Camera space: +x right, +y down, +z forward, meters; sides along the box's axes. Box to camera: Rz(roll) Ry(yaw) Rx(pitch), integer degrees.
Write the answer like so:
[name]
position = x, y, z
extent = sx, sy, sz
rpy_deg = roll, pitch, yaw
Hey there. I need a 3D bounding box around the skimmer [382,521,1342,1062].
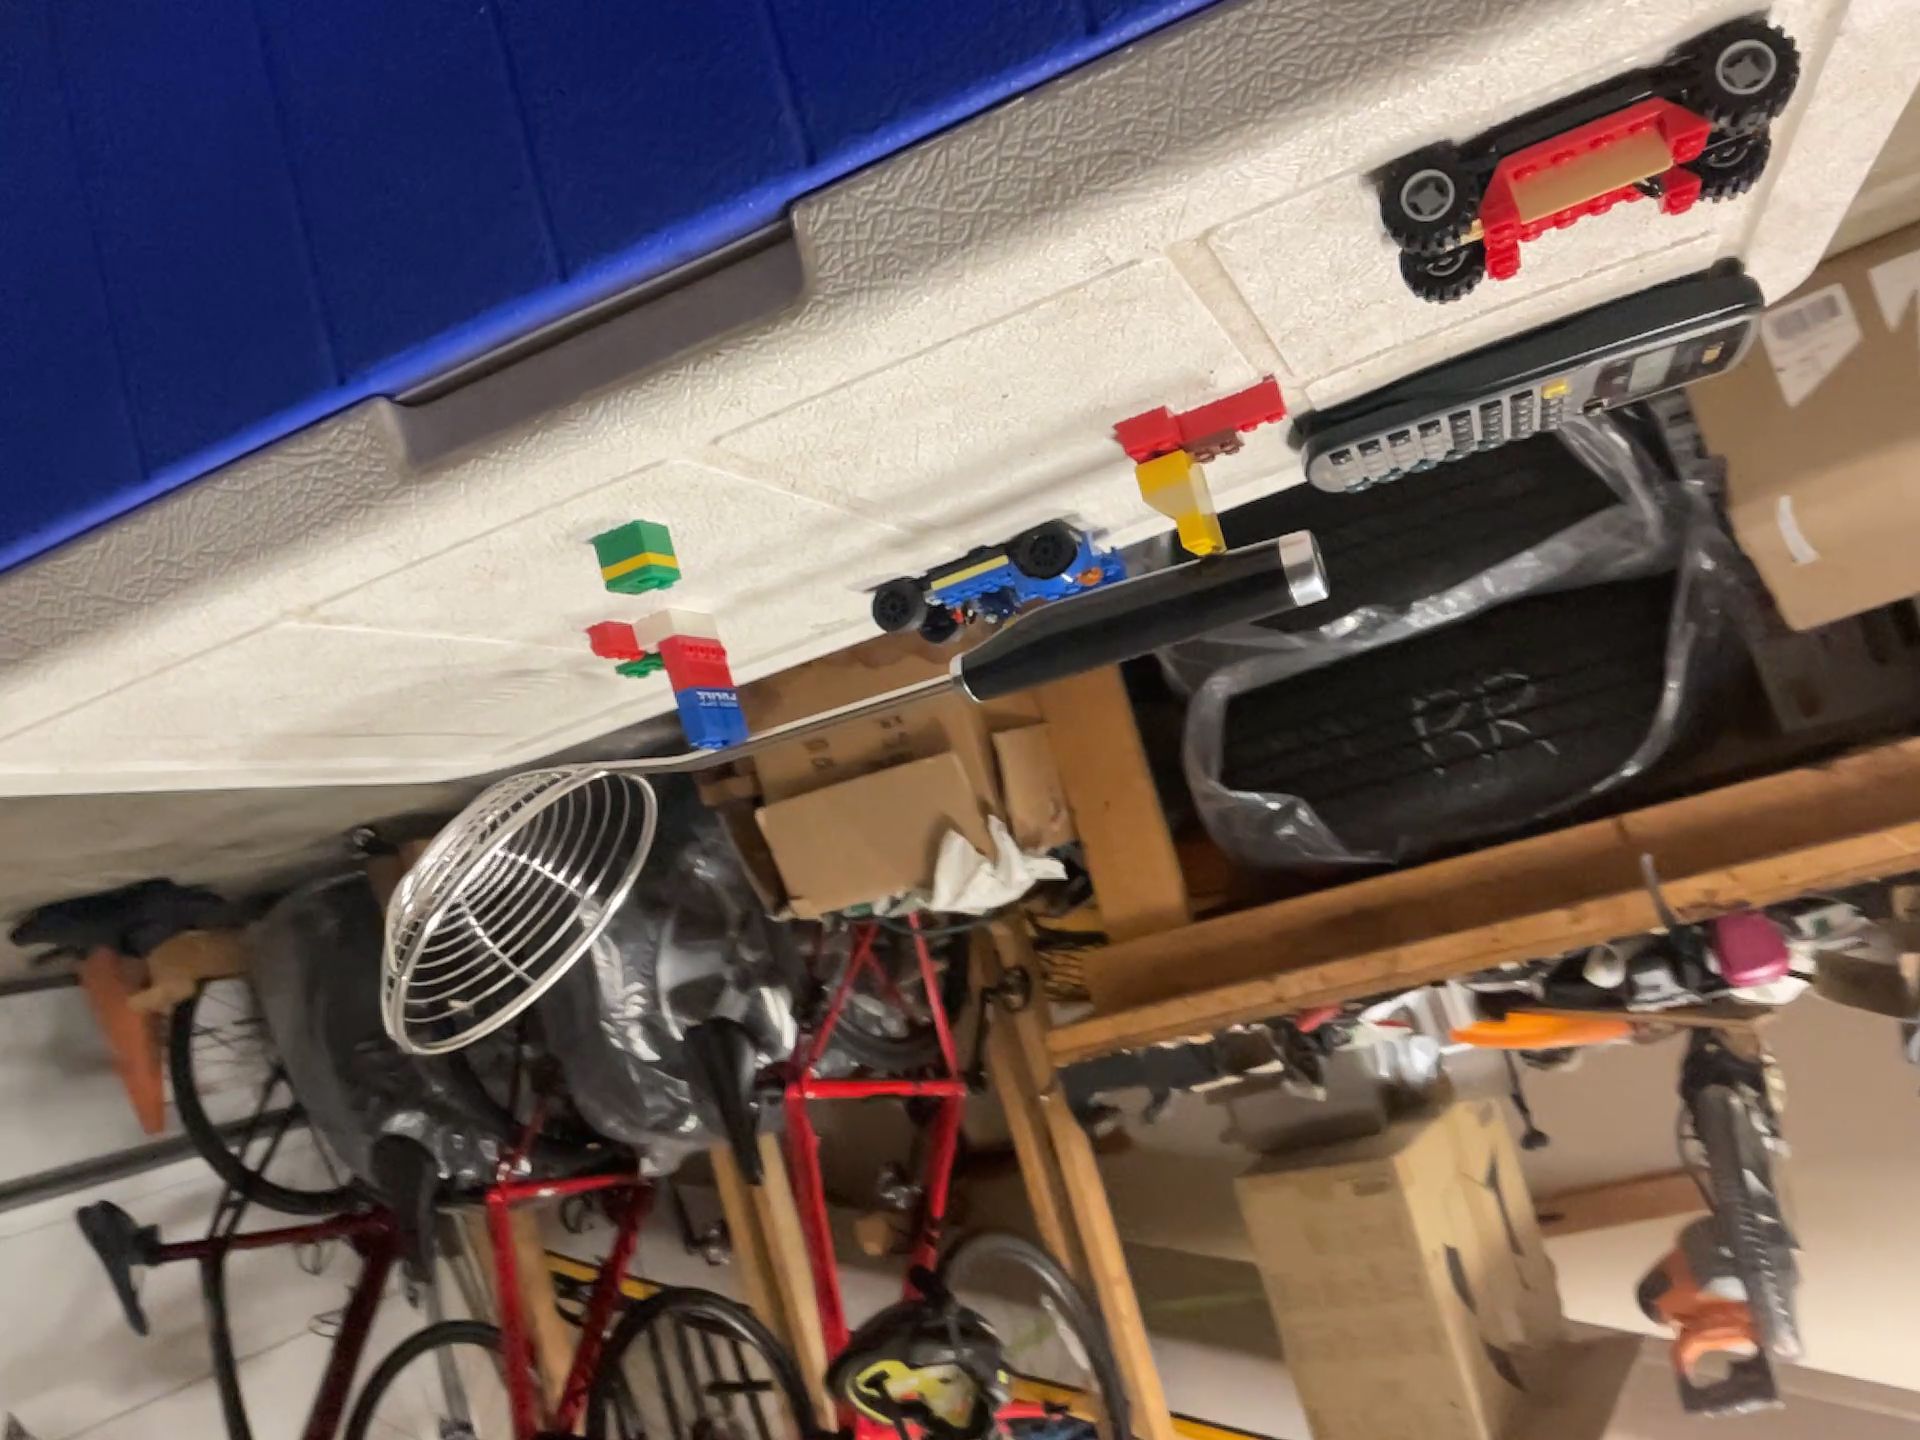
[skimmer]
position = -0.042, 0.031, 0.540
extent = 0.363, 0.090, 0.127
rpy_deg = -18, 175, 19
